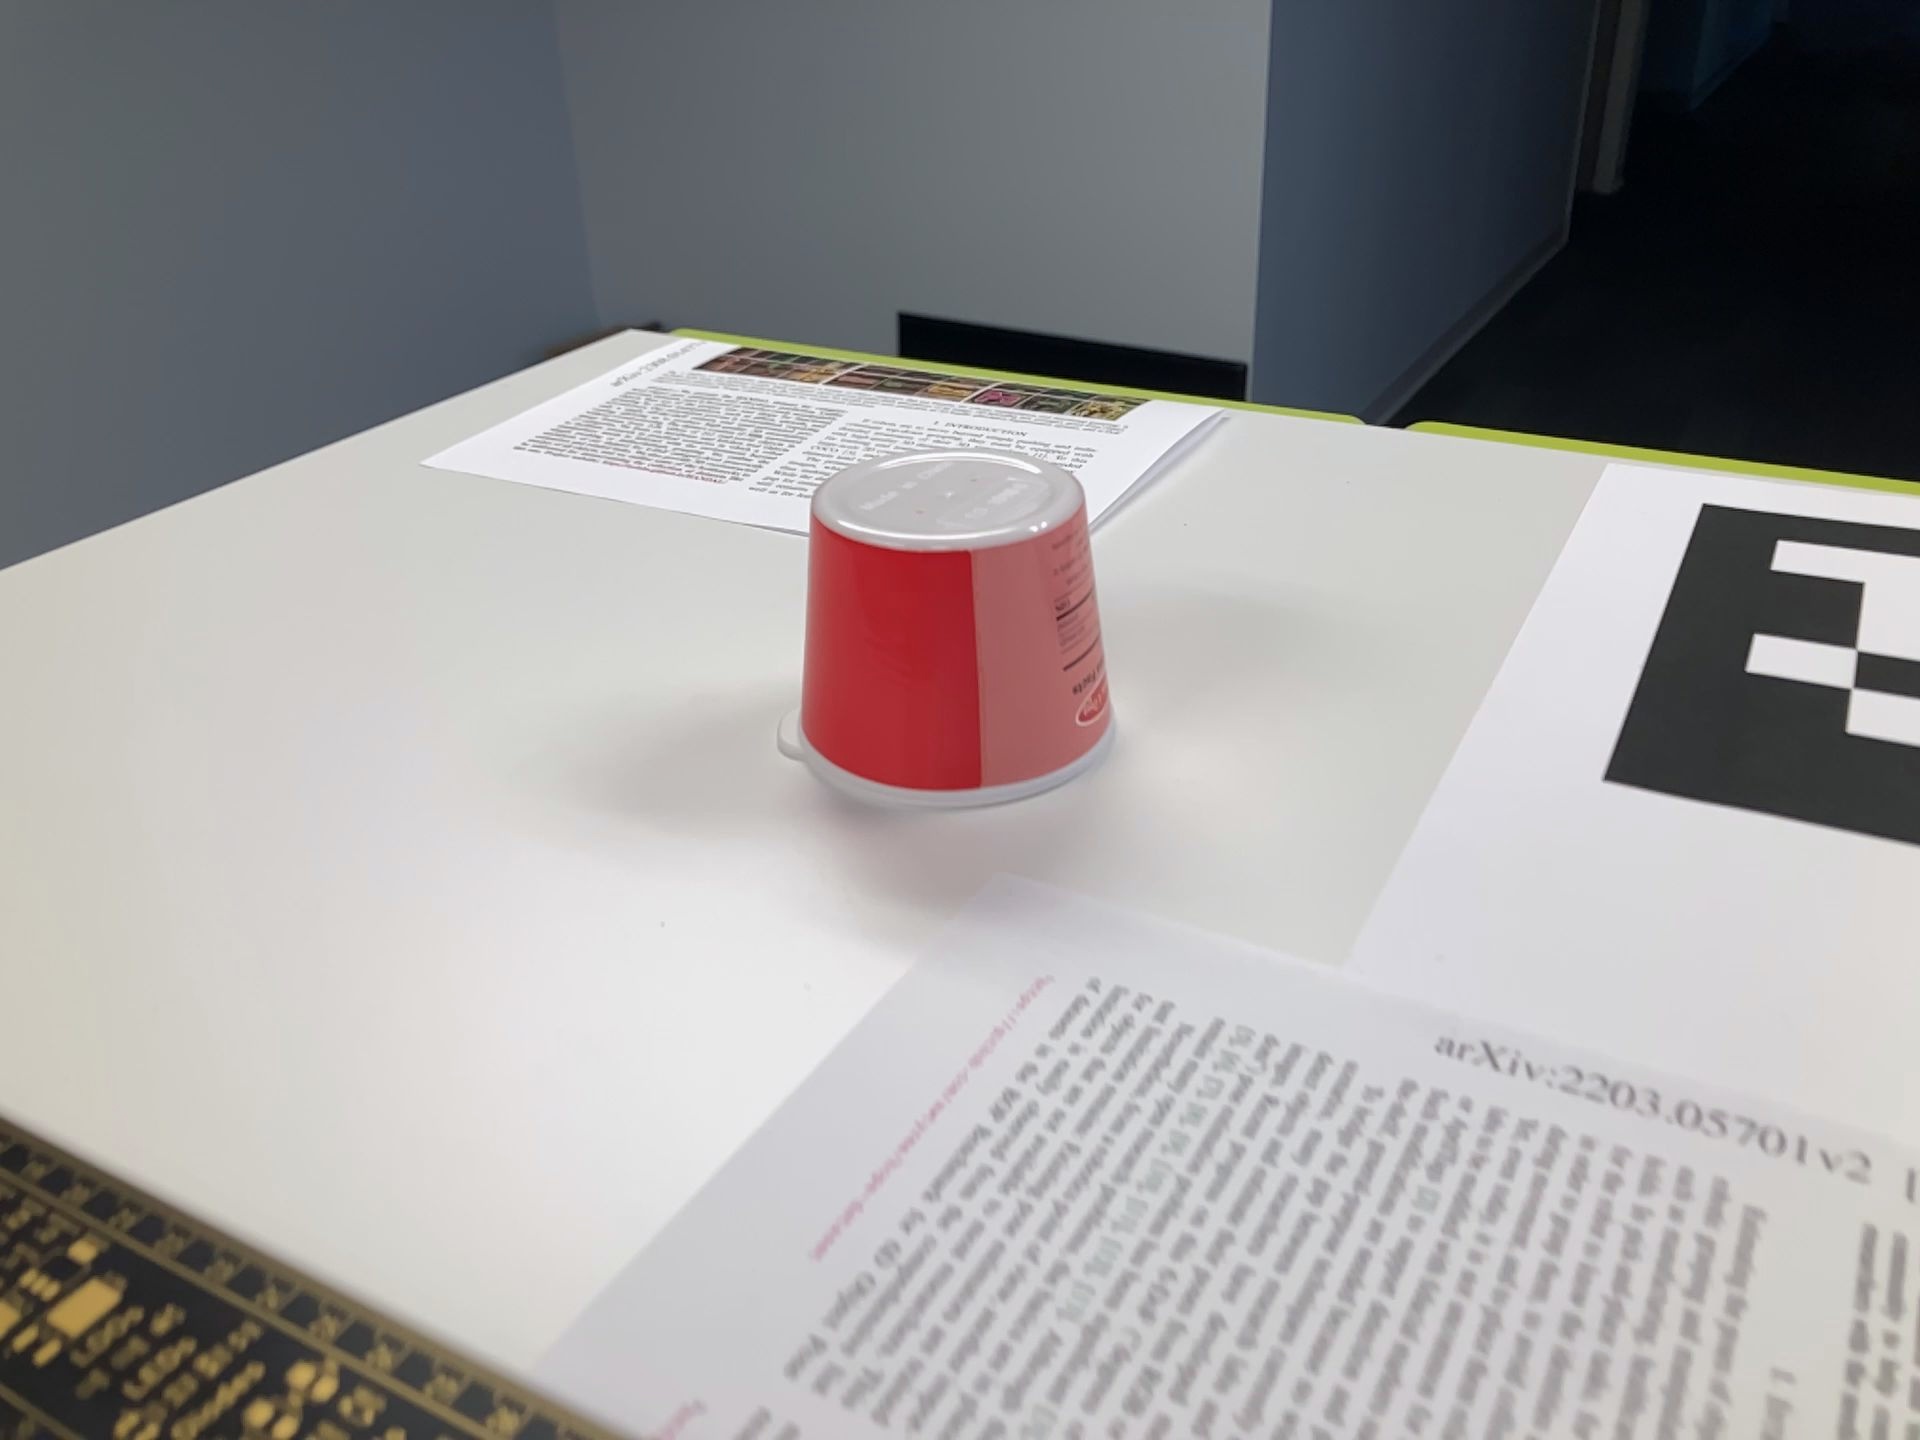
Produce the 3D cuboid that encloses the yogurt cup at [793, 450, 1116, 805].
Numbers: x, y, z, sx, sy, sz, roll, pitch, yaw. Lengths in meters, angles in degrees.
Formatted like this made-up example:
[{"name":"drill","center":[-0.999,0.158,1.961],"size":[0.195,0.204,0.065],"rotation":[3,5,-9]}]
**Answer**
[{"name":"yogurt cup","center":[-0.002,-0.022,0.325],"size":[0.072,0.054,0.072],"rotation":[-1,28,1]}]
